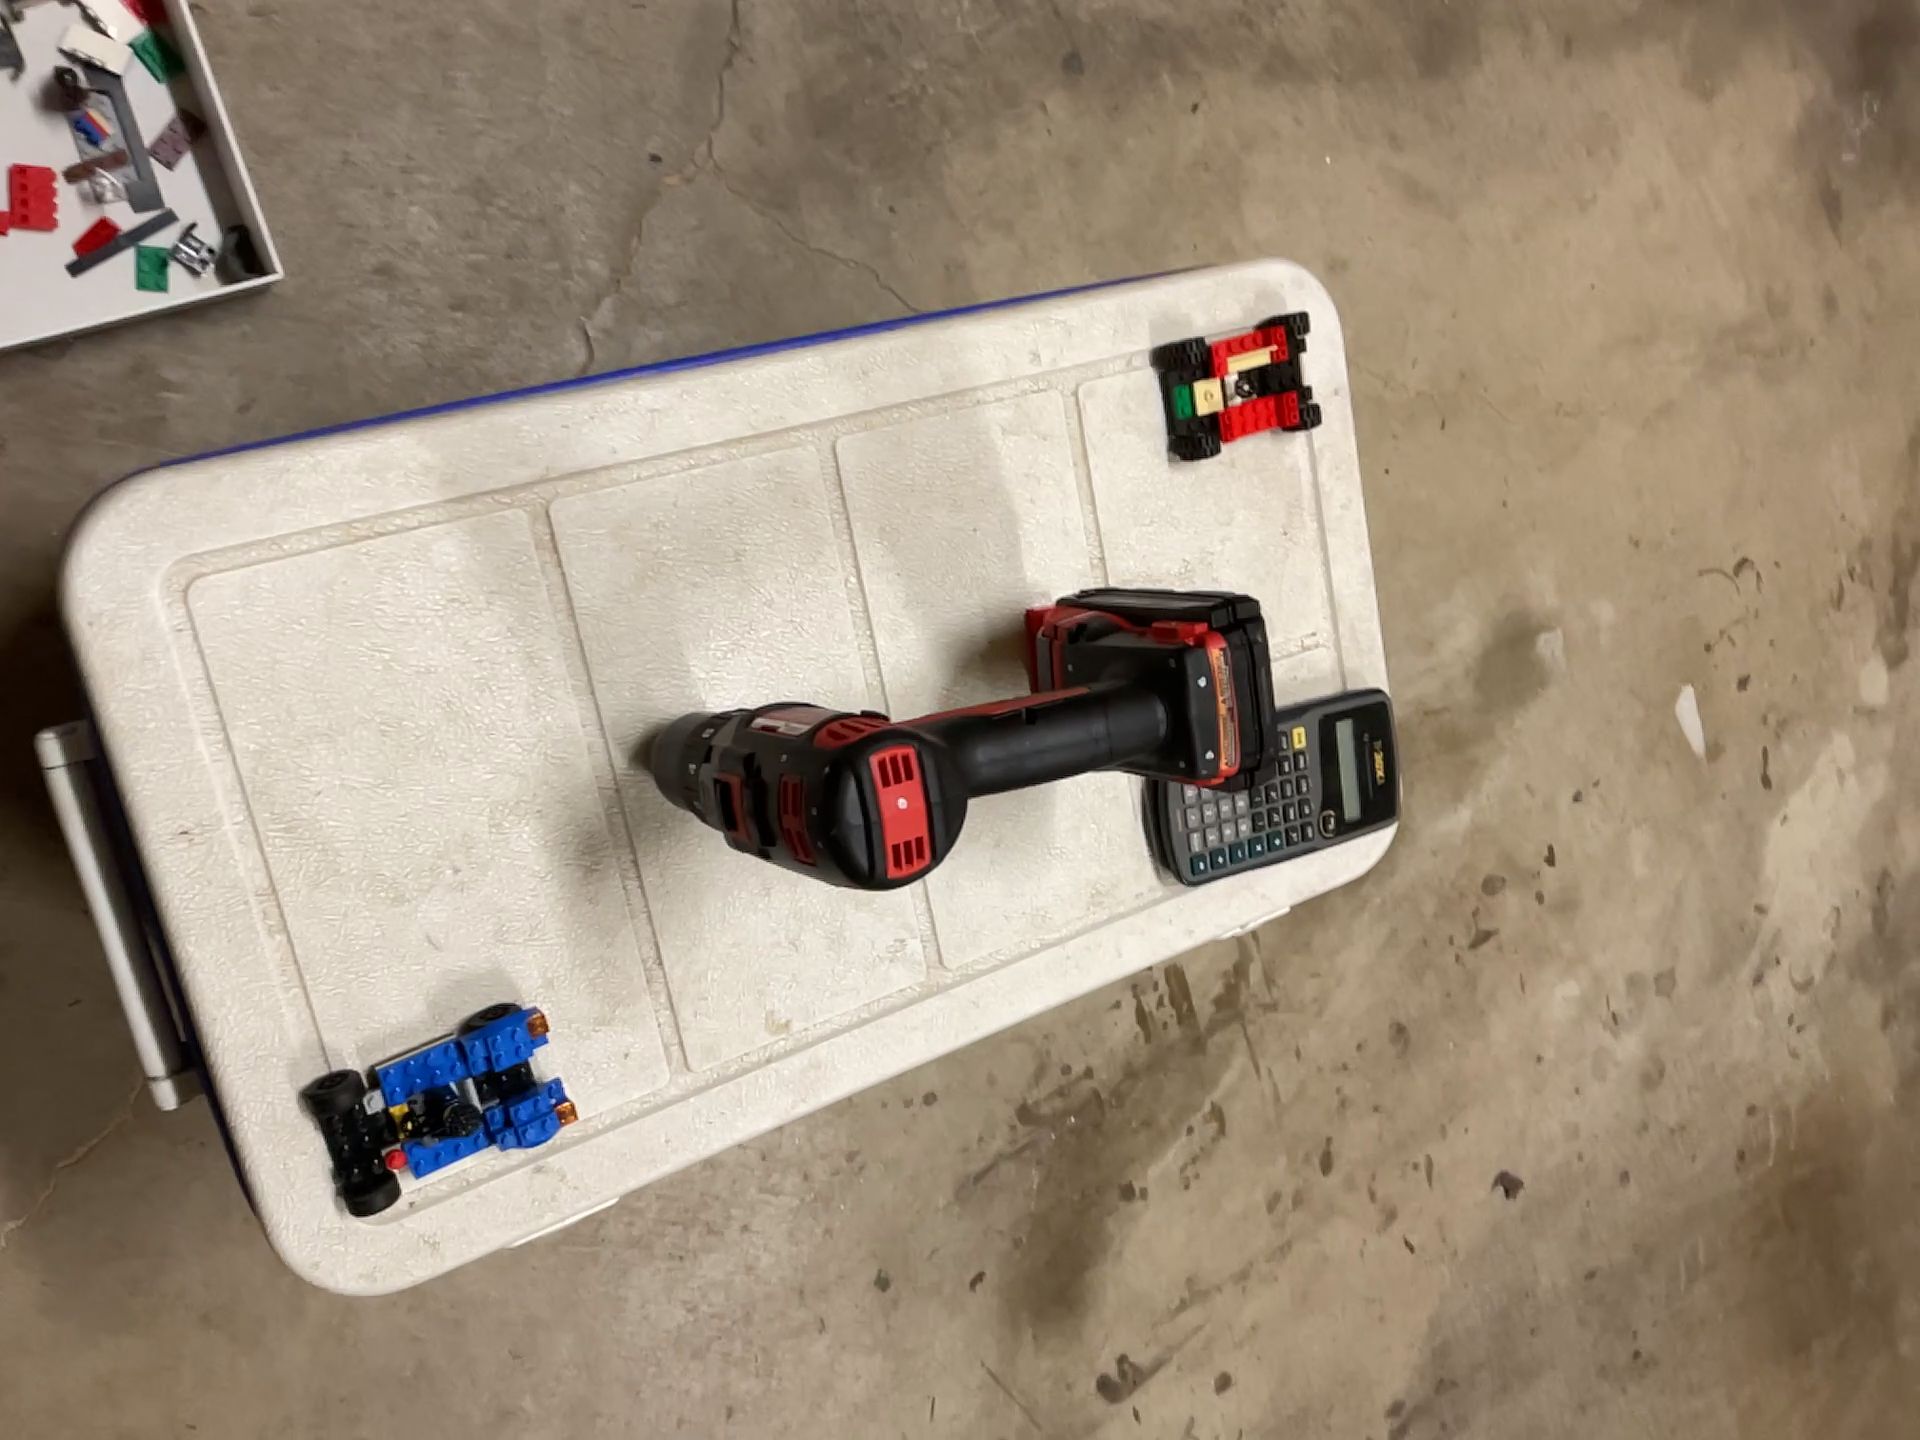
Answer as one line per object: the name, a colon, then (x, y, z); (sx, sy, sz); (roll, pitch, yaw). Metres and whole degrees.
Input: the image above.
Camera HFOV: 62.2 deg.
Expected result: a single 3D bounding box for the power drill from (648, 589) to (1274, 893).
power drill: (-0.005, 0.005, 0.658); (0.227, 0.188, 0.080); (-15, 105, -32)
